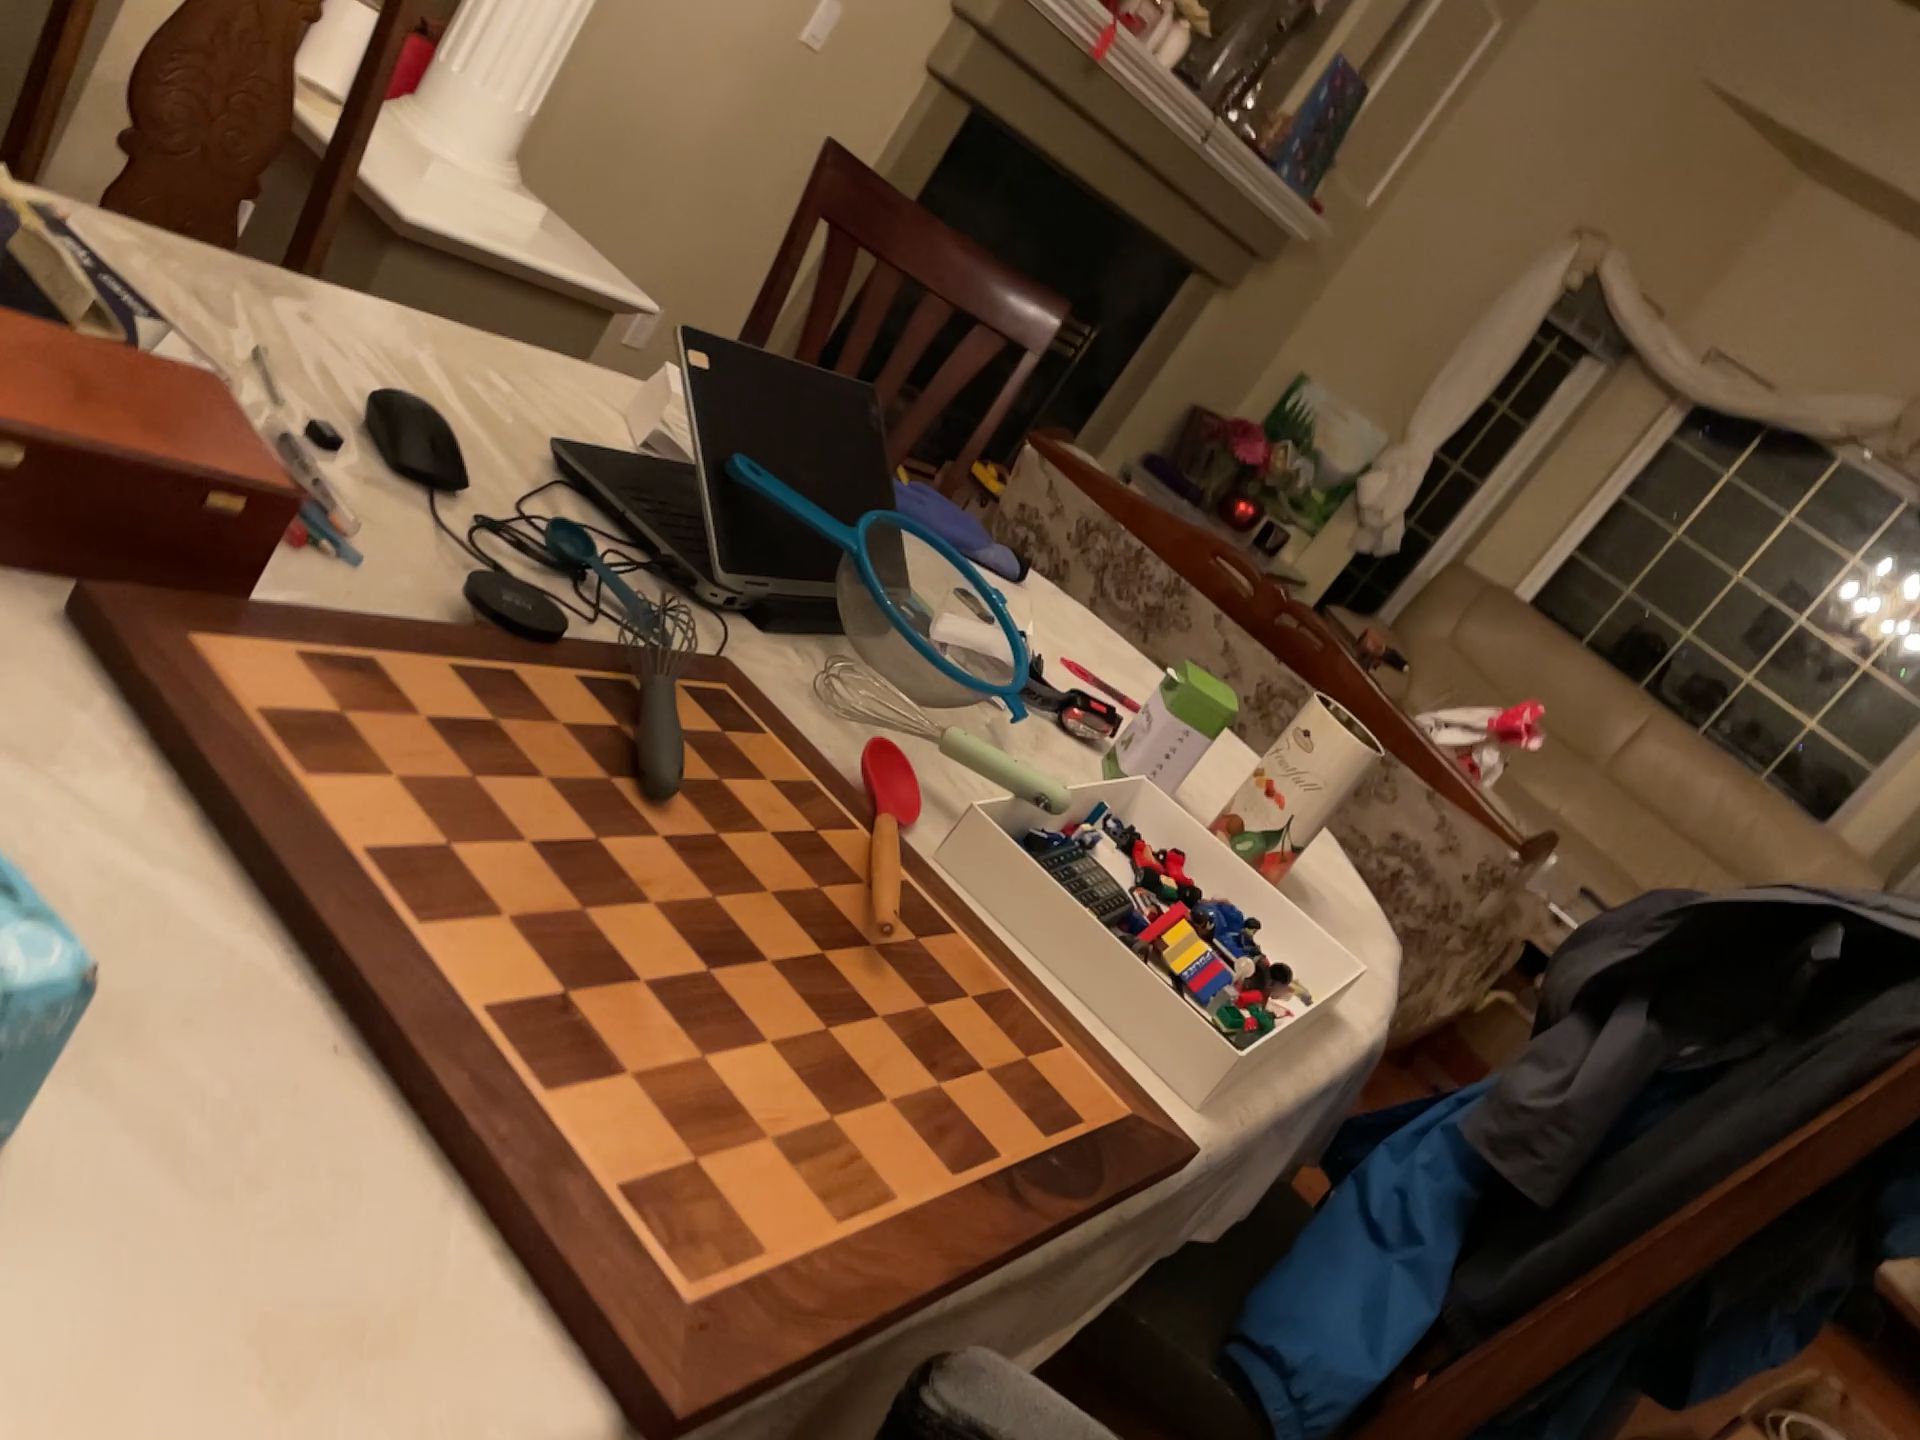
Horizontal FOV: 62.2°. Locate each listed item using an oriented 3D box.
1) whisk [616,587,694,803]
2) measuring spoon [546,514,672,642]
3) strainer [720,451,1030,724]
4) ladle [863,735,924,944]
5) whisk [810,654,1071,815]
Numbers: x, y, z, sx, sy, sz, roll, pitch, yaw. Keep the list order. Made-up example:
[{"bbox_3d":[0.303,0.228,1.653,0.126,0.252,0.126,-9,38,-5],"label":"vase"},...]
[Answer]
[{"bbox_3d":[-0.195,-0.019,1.016,0.055,0.055,0.239,15,28,-19],"label":"whisk"},{"bbox_3d":[-0.264,-0.101,1.193,0.128,0.021,0.042,47,24,-5],"label":"measuring spoon"},{"bbox_3d":[-0.090,-0.112,1.398,0.340,0.095,0.211,32,30,-28],"label":"strainer"},{"bbox_3d":[-0.047,0.079,1.057,0.069,0.031,0.315,55,8,-15],"label":"ladle"},{"bbox_3d":[-0.017,0.011,1.245,0.246,0.057,0.059,28,43,24],"label":"whisk"}]
